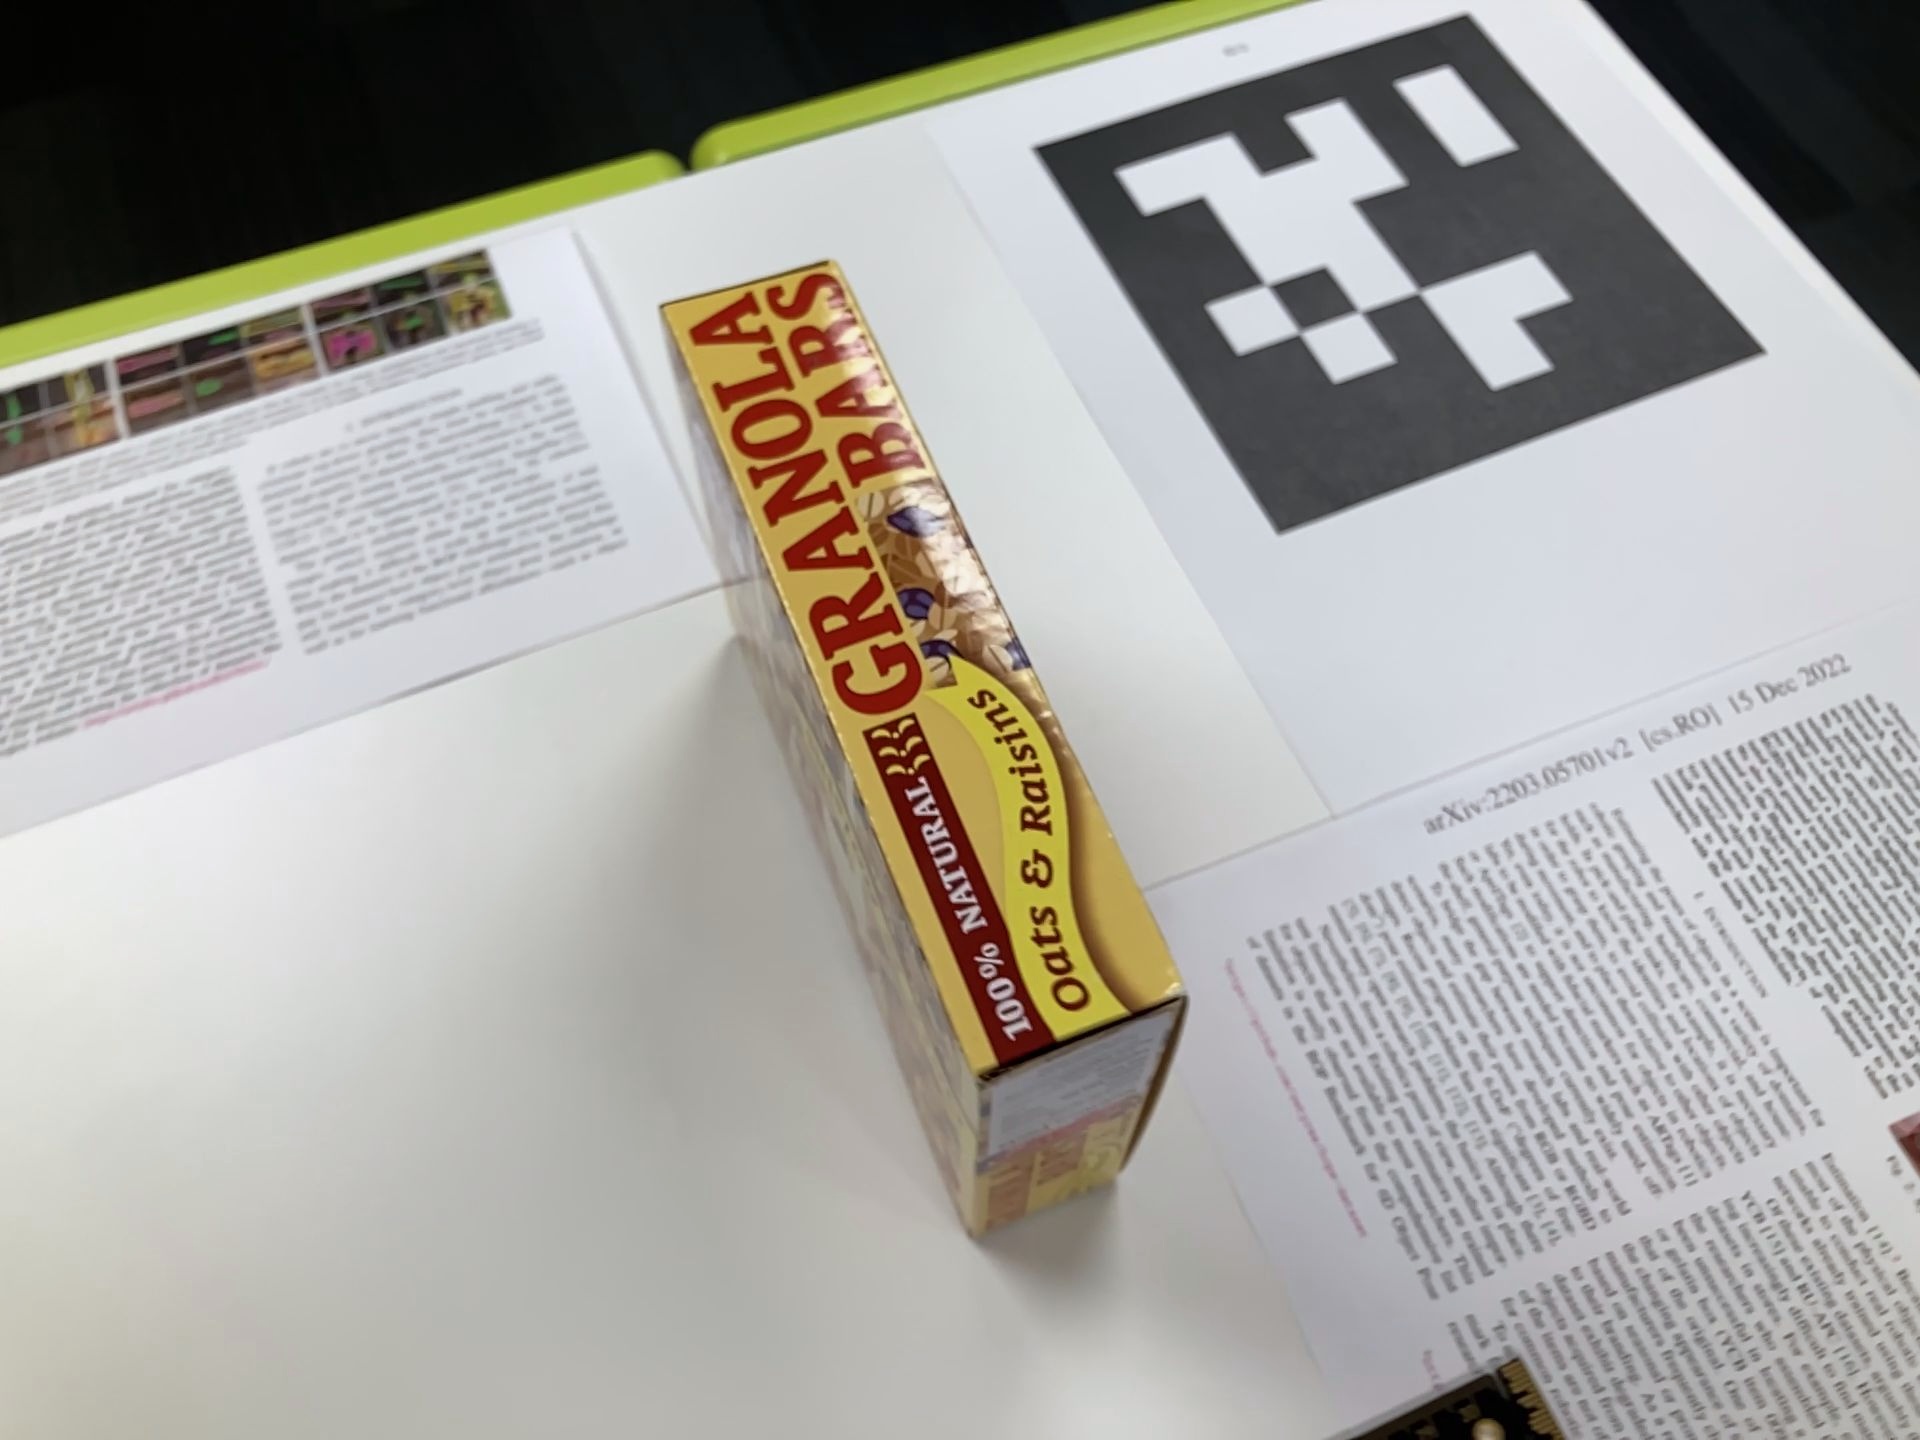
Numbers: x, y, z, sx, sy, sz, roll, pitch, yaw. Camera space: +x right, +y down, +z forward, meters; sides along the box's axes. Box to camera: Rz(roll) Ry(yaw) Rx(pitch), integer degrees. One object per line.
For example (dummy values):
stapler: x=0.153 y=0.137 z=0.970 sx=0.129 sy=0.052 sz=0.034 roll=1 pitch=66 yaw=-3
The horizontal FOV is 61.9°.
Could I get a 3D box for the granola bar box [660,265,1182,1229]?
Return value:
granola bar box: x=-0.012 y=0.009 z=0.334 sx=0.039 sy=0.124 sz=0.165 roll=-19 pitch=64 yaw=-11
